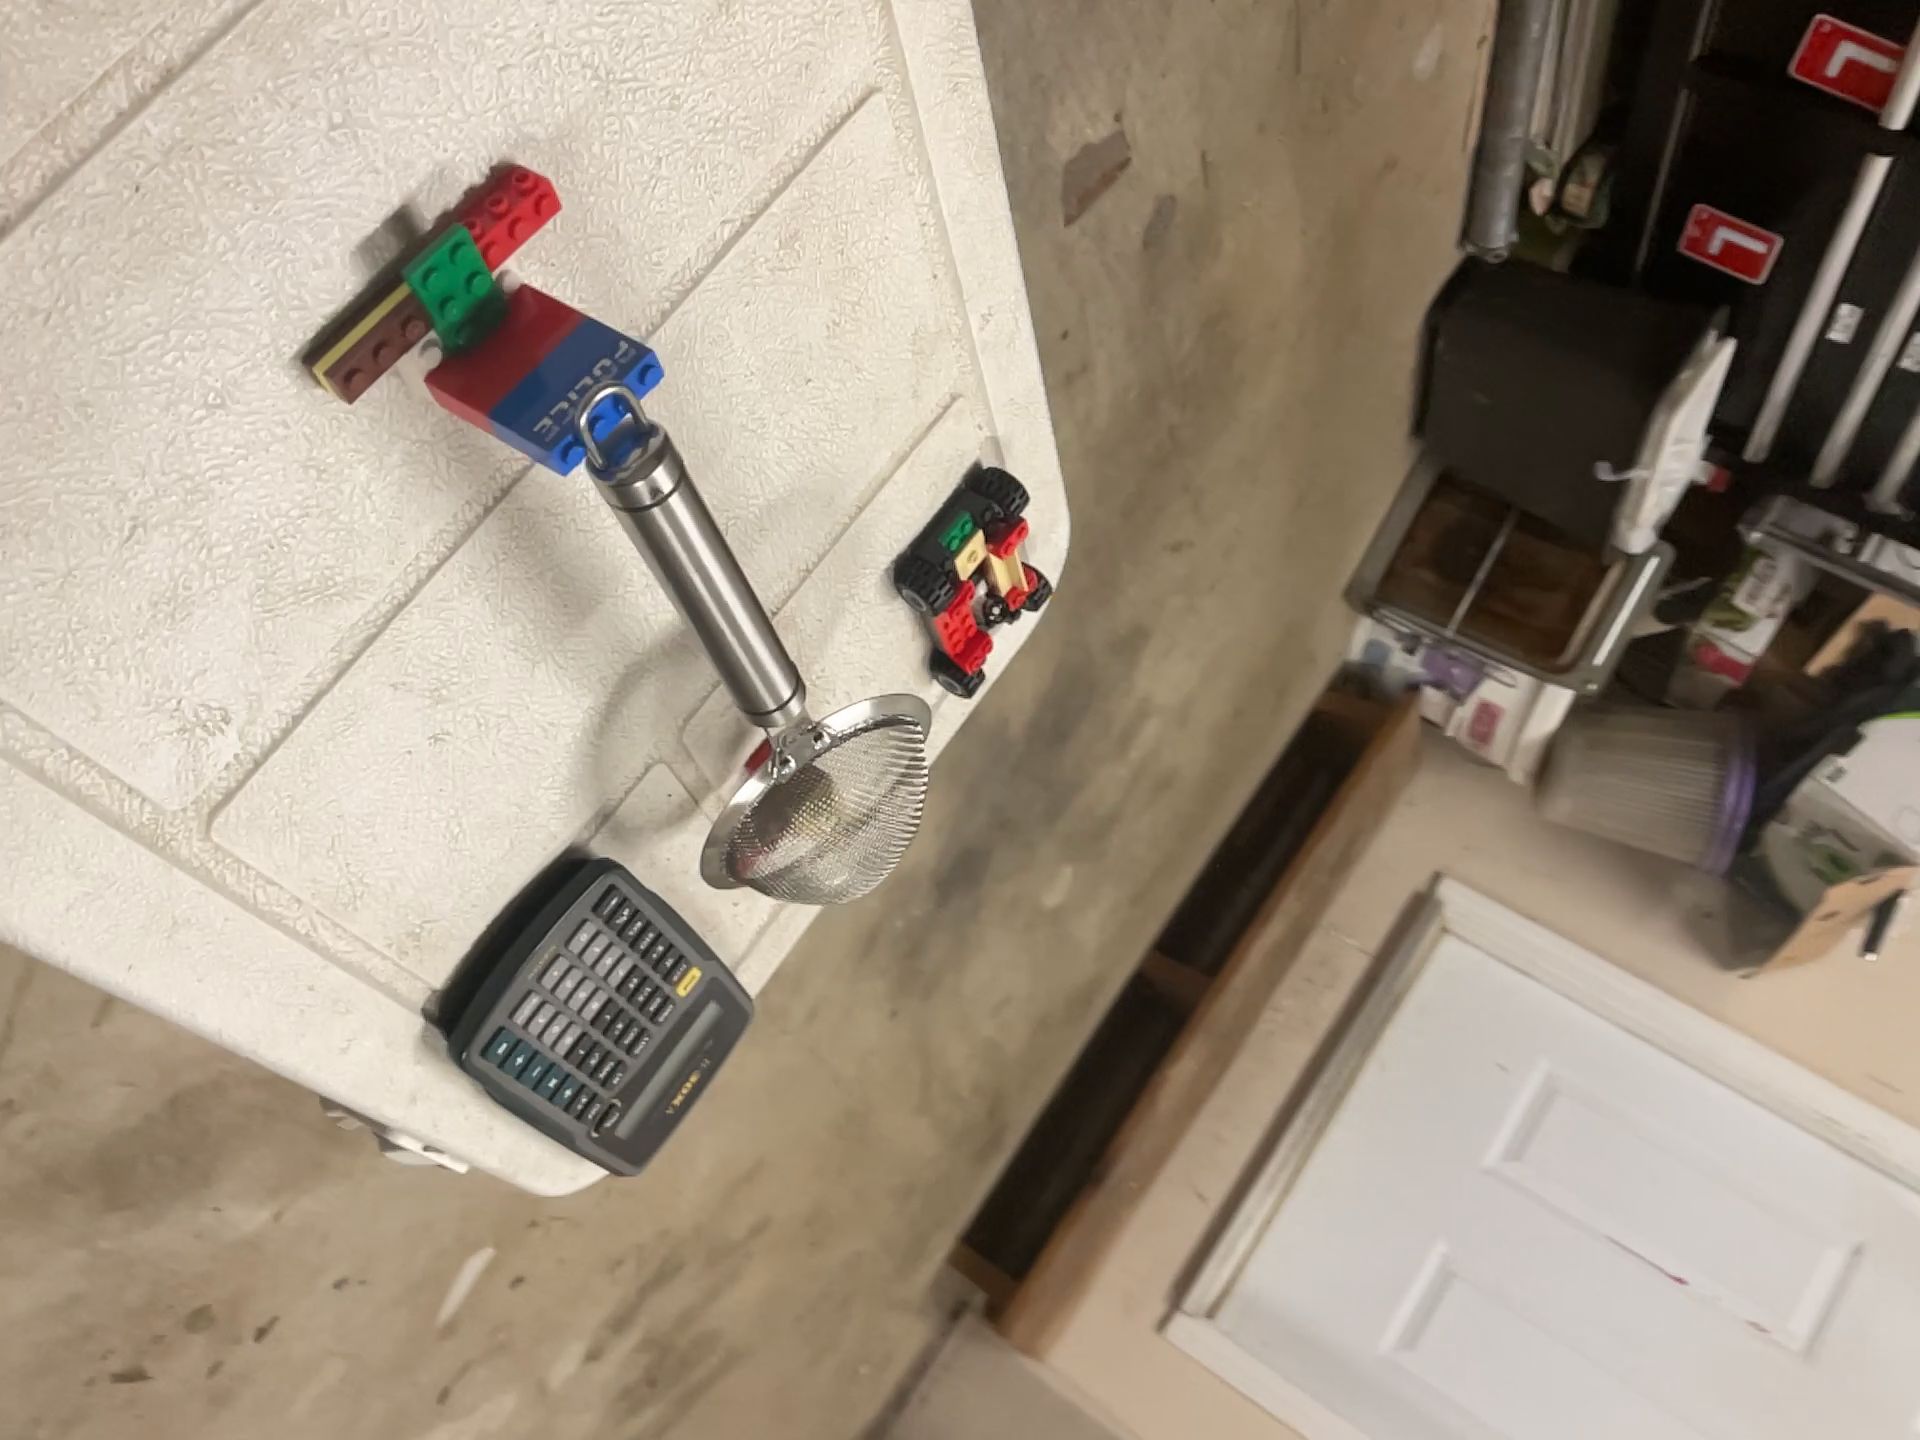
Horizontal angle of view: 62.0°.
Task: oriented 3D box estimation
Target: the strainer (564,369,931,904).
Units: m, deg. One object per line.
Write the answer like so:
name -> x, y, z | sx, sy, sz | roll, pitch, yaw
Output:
strainer -> -0.051, -0.003, 0.424 | 0.087, 0.050, 0.258 | -38, 150, -10
